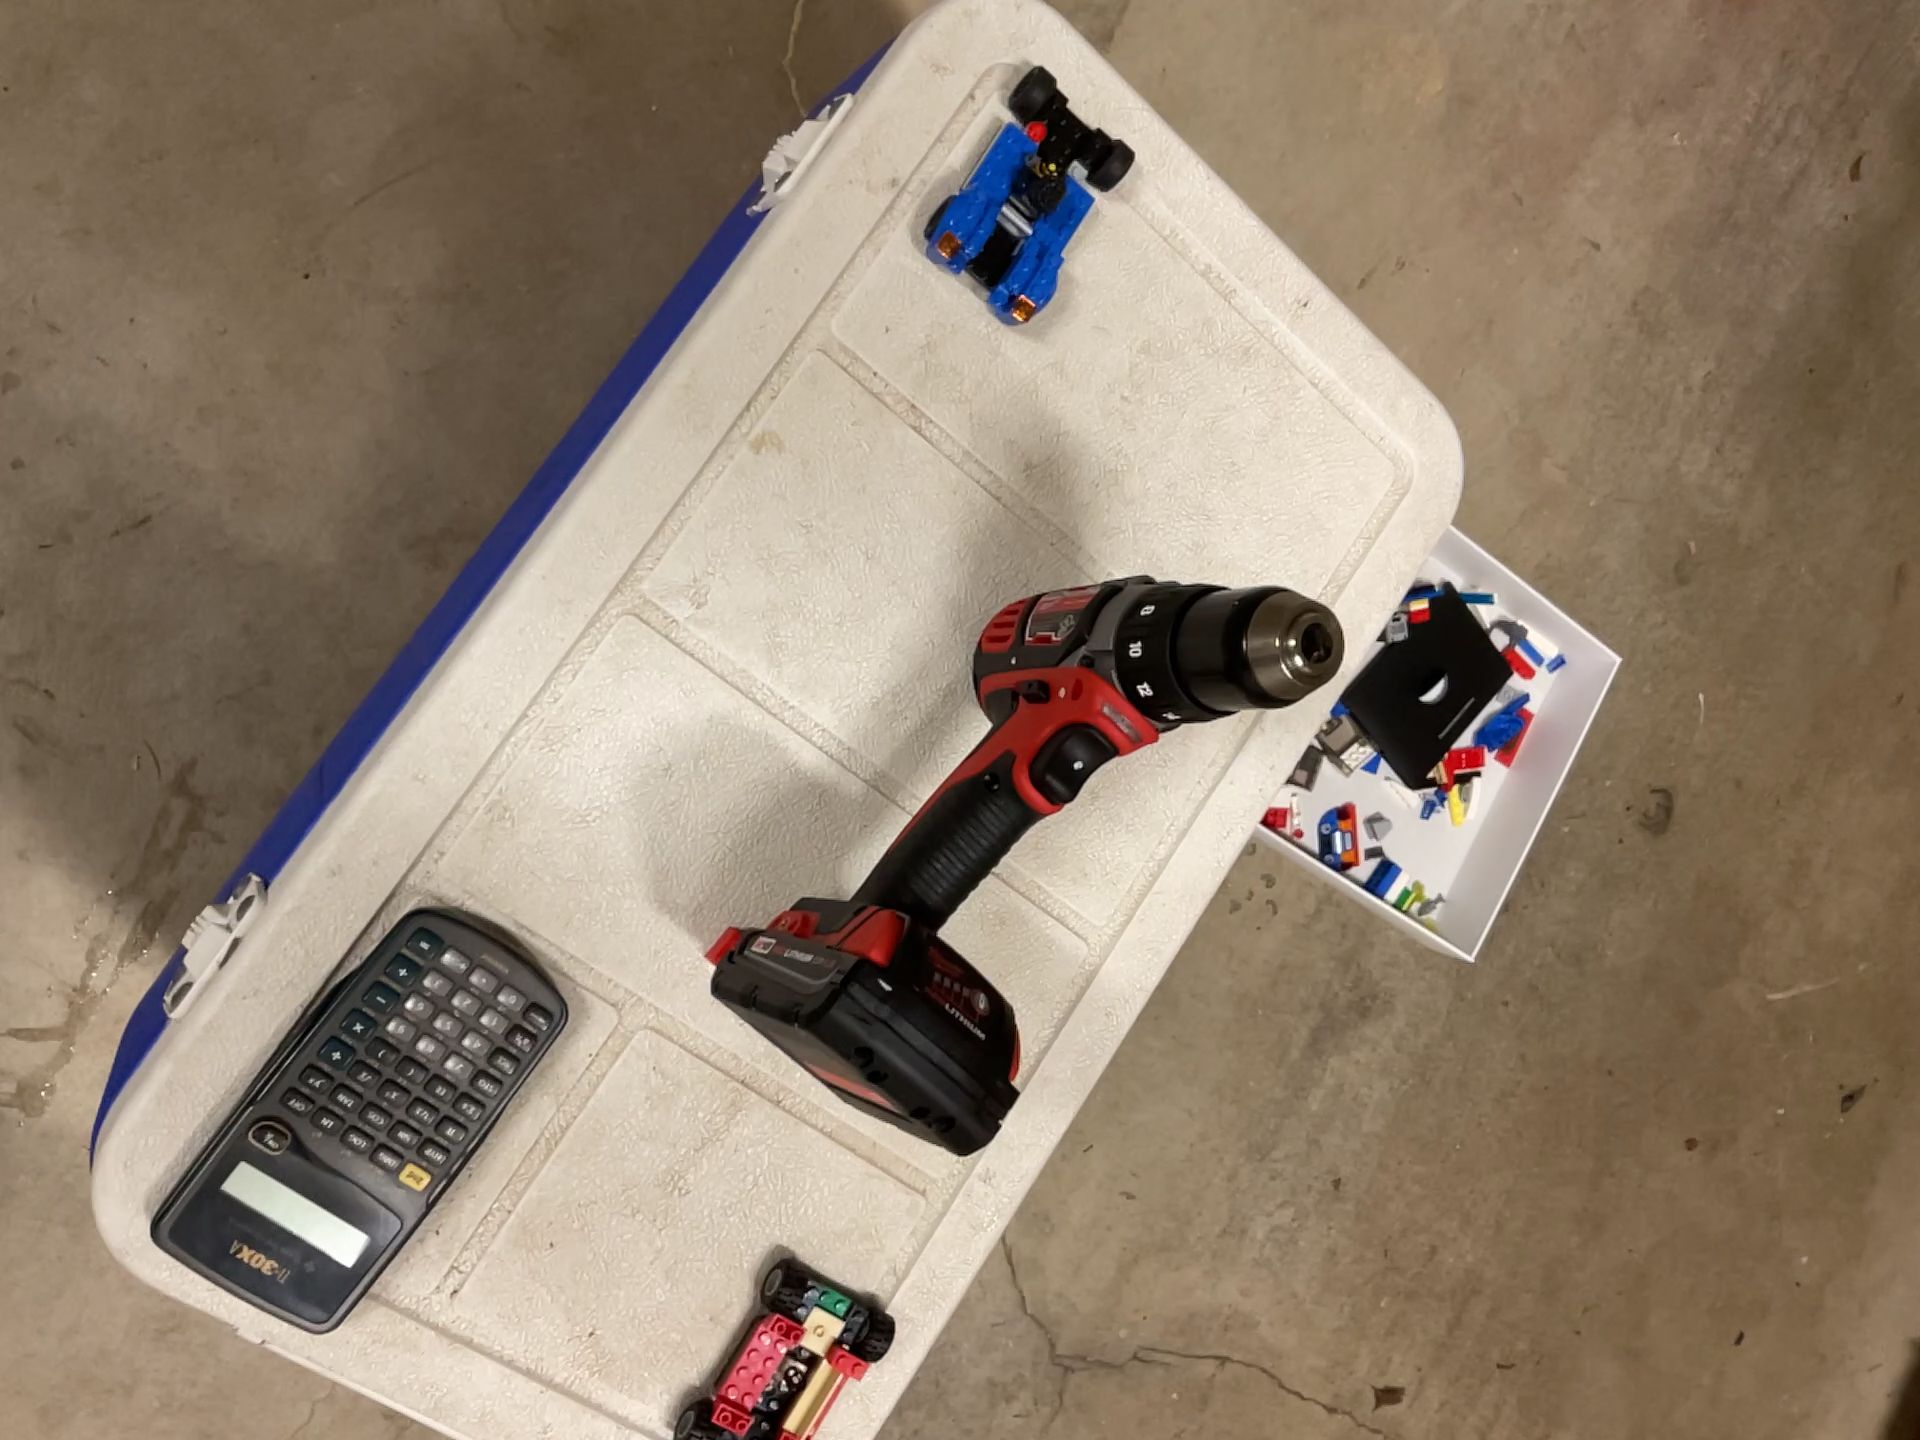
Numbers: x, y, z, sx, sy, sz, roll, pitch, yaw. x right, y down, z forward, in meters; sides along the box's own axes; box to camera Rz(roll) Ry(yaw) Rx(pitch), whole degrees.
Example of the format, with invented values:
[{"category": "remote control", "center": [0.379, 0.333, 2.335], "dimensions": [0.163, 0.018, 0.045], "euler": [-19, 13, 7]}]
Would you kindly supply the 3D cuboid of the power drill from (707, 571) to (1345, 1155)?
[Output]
[{"category": "power drill", "center": [0.027, 0.036, 0.579], "dimensions": [0.080, 0.187, 0.227], "euler": [44, 69, -22]}]
